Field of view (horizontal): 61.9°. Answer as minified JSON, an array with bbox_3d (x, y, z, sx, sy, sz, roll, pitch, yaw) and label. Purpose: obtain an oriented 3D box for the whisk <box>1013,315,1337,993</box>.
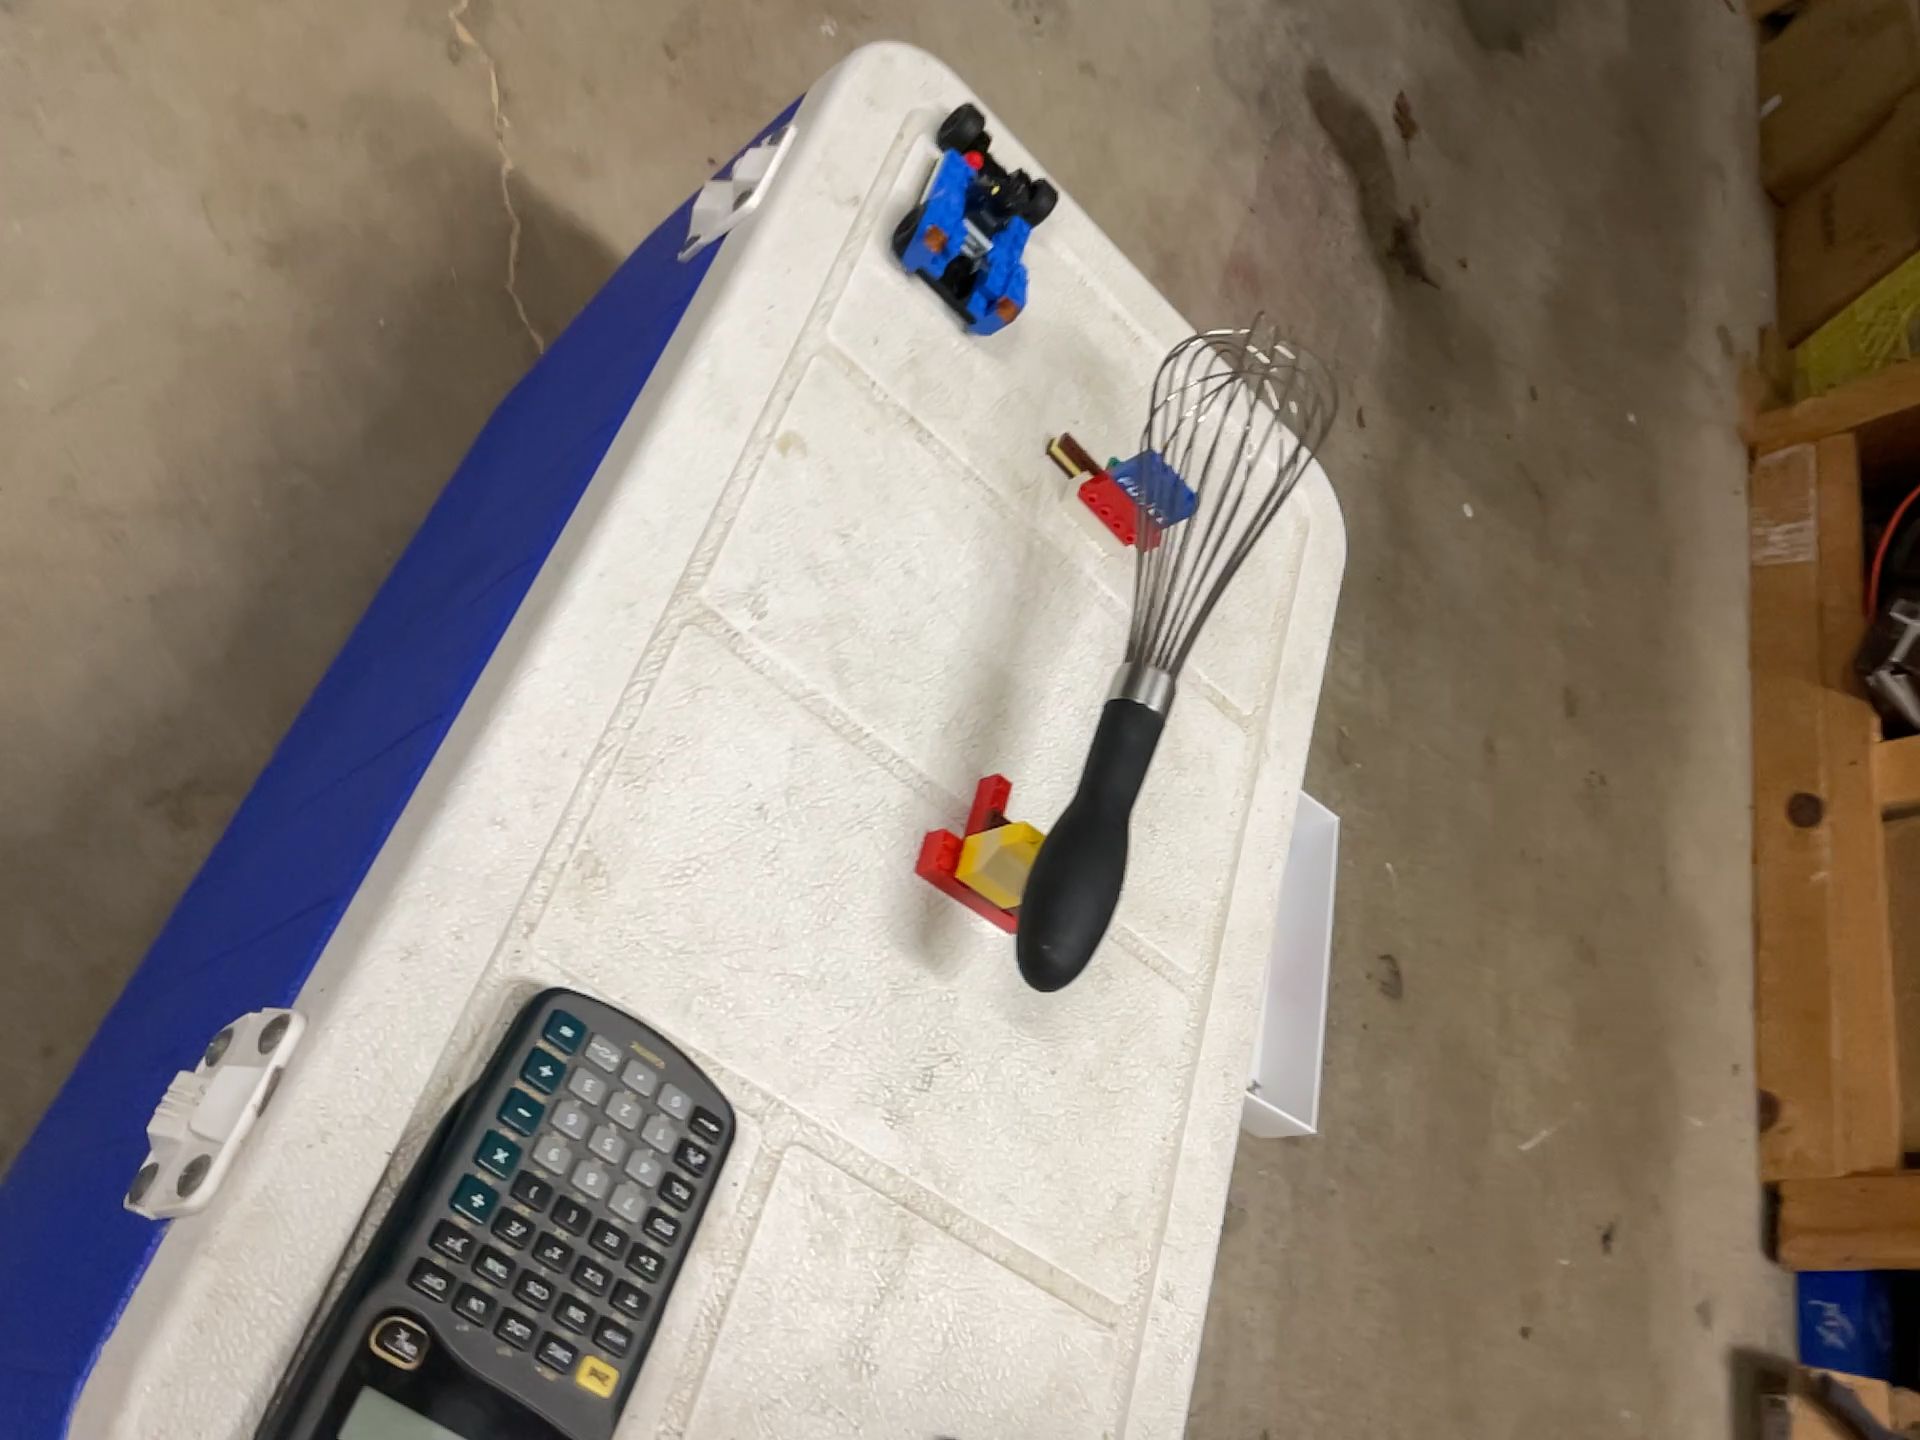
[{"bbox_3d":[0.073,-0.034,0.561,0.070,0.070,0.285,41,57,-32],"label":"whisk"}]
